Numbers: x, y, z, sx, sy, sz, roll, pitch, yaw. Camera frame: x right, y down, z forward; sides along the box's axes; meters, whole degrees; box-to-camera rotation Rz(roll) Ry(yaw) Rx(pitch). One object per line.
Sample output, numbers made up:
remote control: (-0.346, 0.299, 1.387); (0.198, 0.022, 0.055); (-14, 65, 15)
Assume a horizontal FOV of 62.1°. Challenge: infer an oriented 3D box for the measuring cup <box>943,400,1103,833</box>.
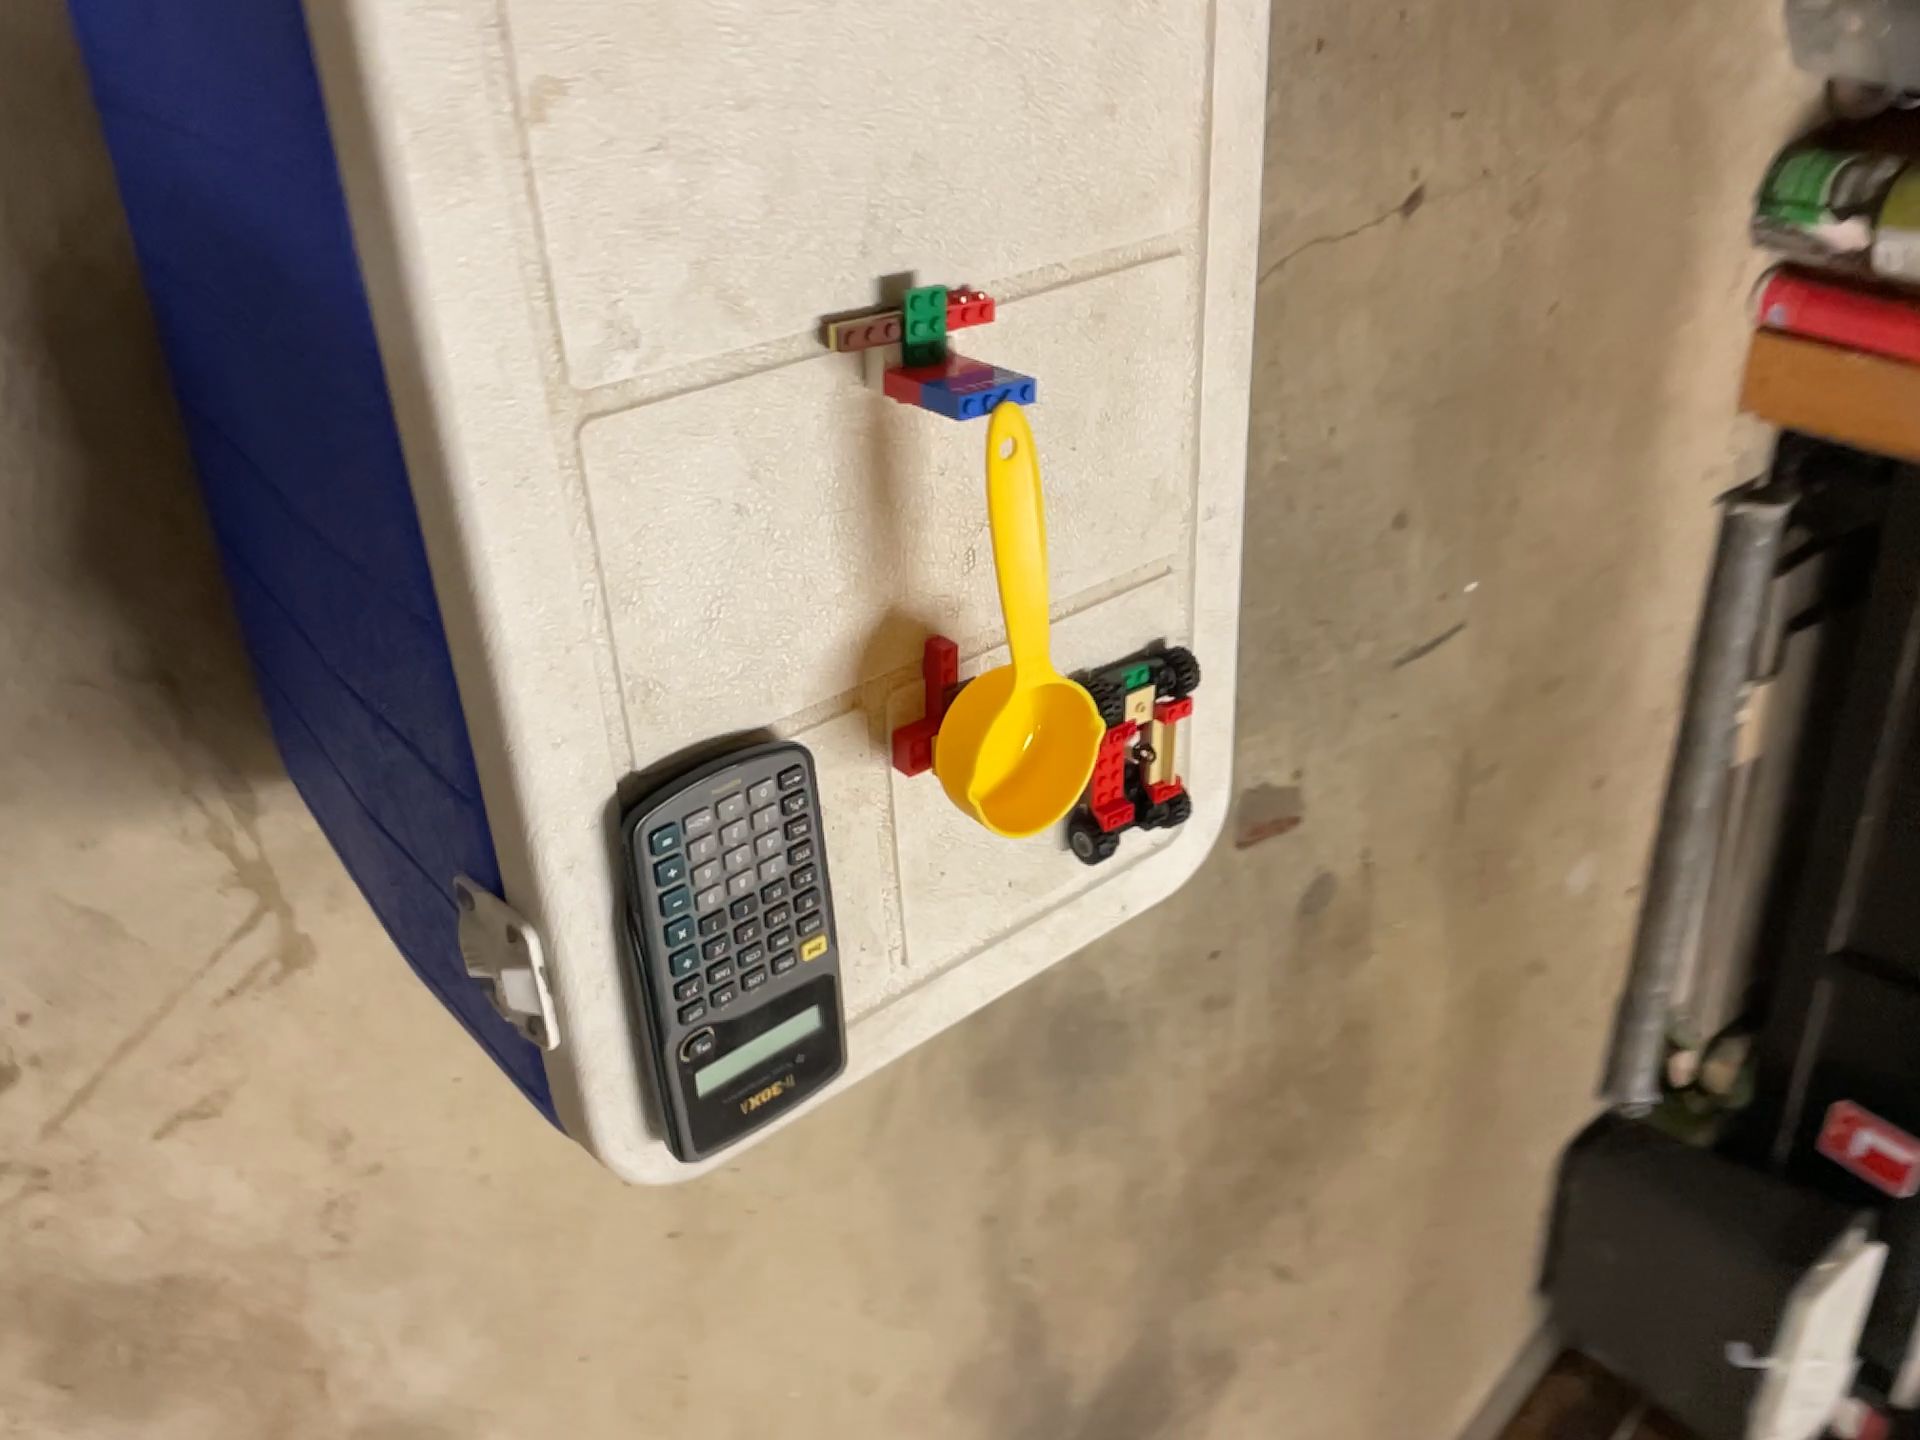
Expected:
measuring cup: (0.015, -0.035, 0.547); (0.062, 0.029, 0.156); (-25, 123, -33)
